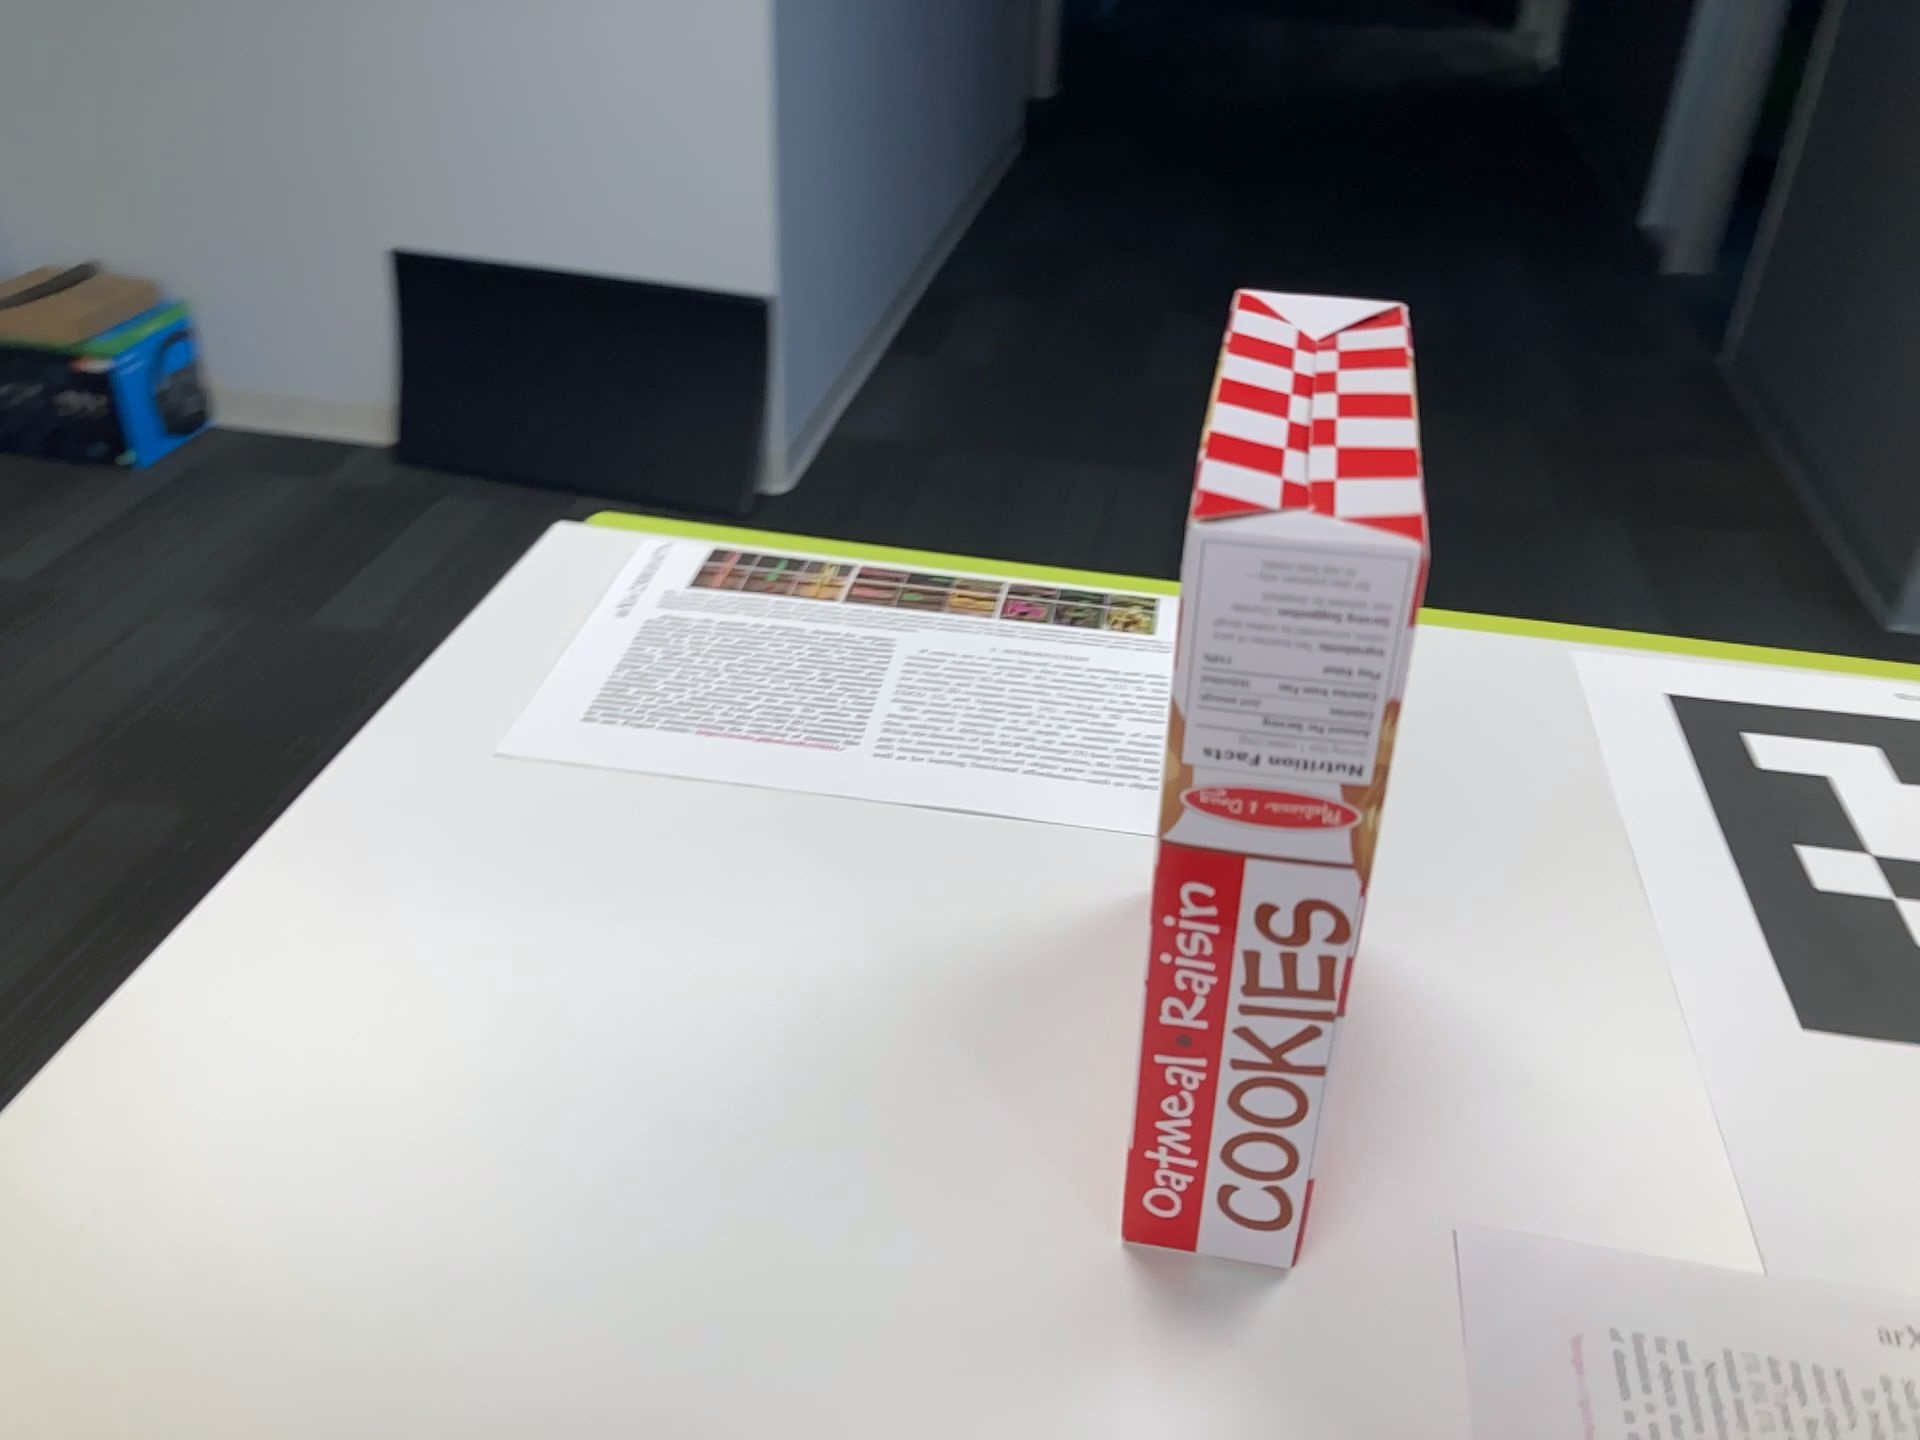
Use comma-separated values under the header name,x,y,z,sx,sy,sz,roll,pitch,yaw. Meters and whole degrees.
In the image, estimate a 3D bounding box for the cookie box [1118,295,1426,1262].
name,x,y,z,sx,sy,sz,roll,pitch,yaw
cookie box,0.065,0.011,0.339,0.040,0.167,0.123,7,32,9
